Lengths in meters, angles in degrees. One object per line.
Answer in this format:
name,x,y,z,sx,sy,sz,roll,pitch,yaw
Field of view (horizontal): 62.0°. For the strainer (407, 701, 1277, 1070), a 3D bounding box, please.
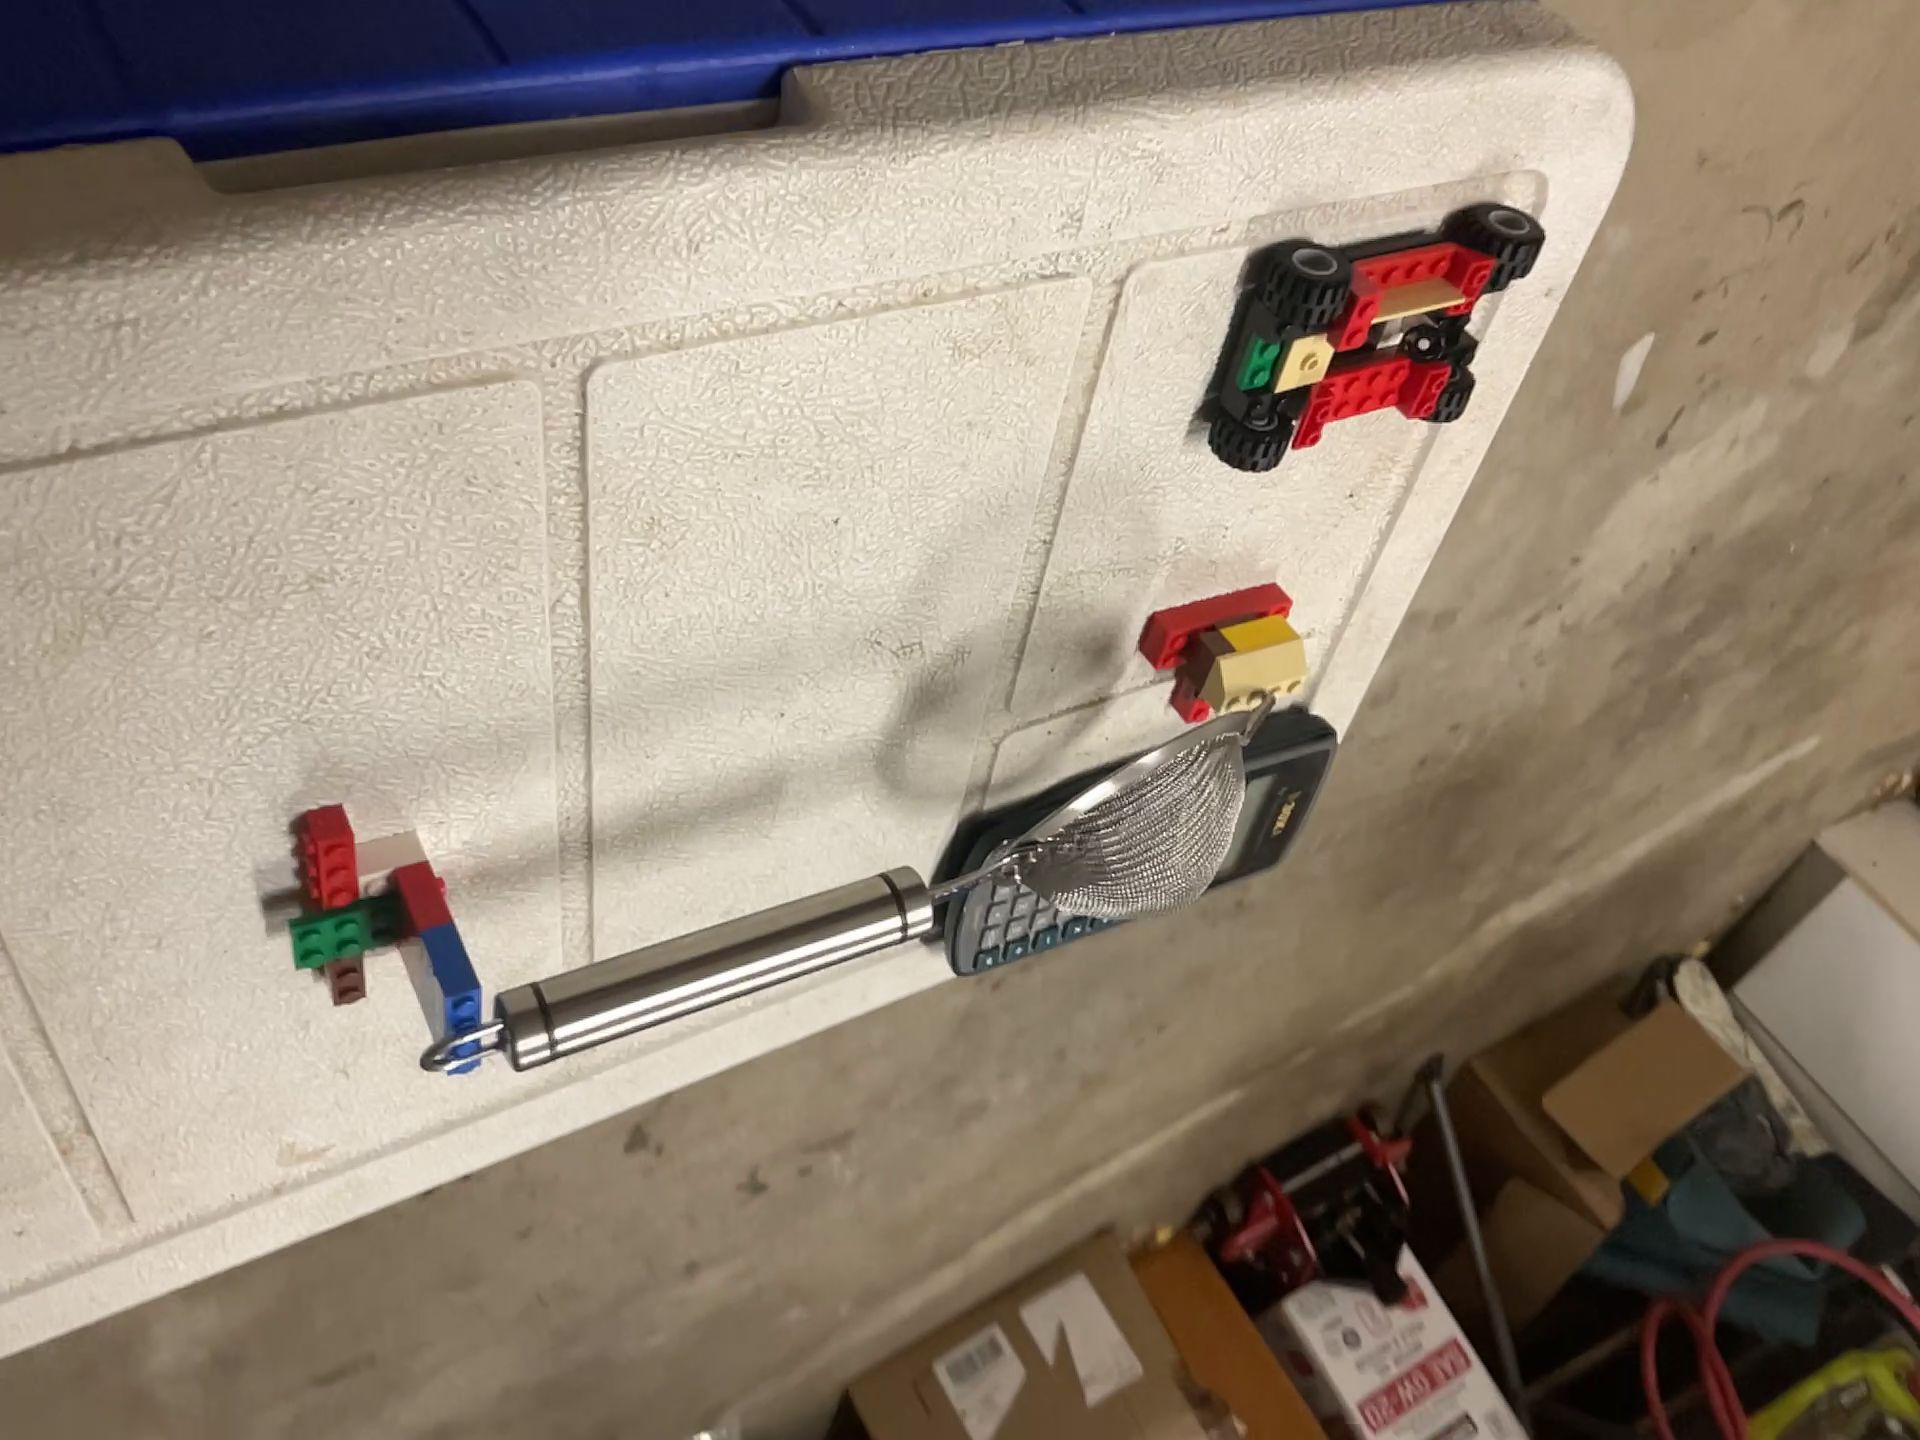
strainer,-0.011,0.047,0.412,0.258,0.050,0.086,-15,159,-26
